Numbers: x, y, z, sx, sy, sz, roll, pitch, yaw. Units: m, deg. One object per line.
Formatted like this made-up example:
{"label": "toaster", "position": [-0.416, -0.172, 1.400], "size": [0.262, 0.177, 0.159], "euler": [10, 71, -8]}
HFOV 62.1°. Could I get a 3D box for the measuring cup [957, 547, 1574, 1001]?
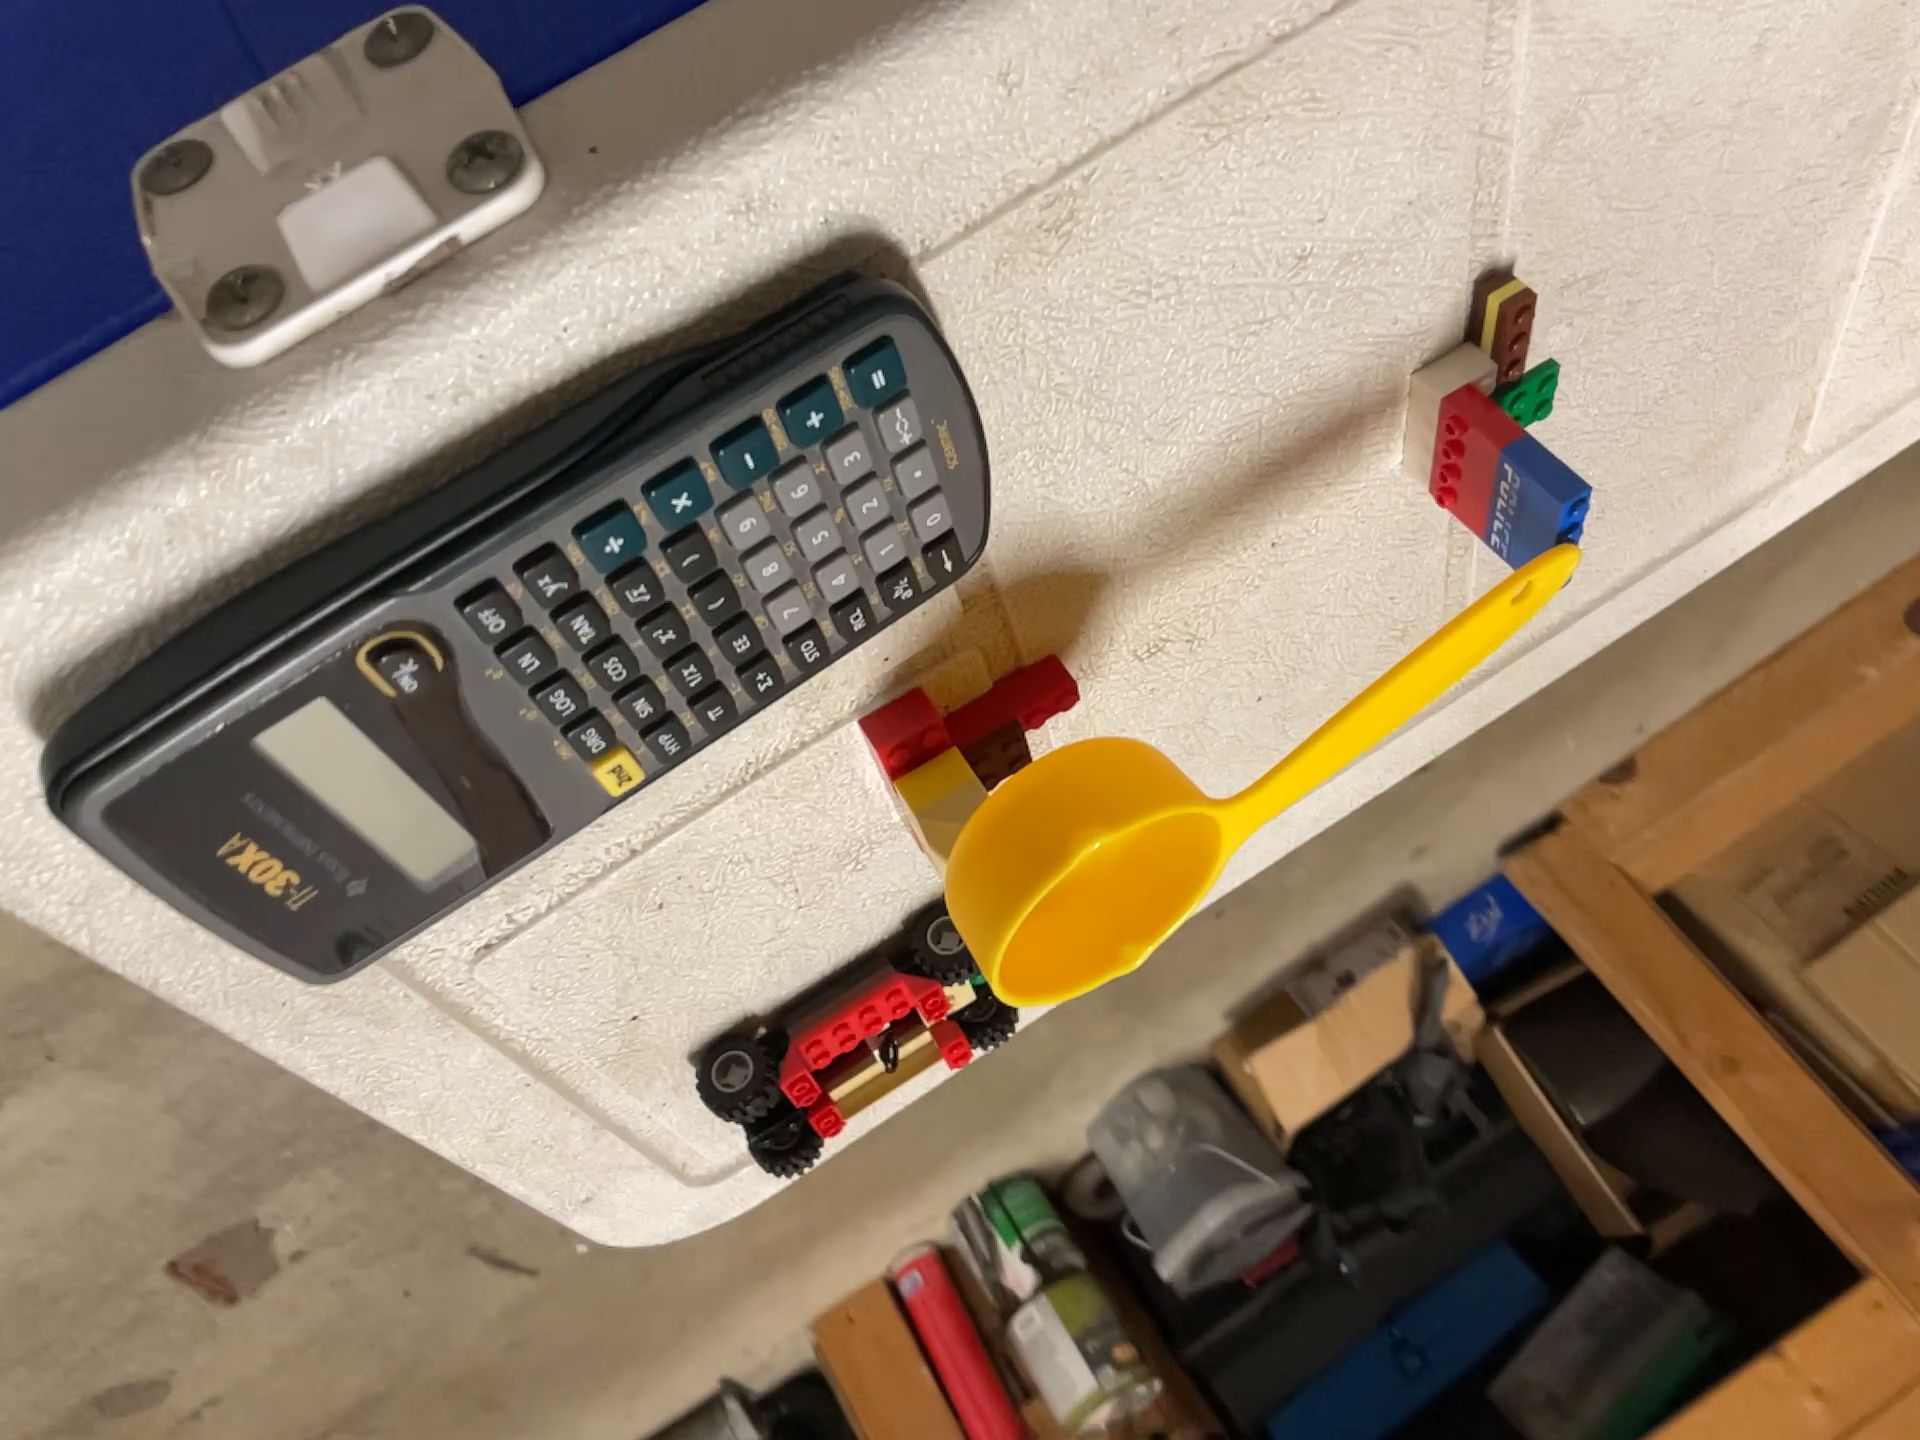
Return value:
{"label": "measuring cup", "position": [0.065, 0.002, 0.346], "size": [0.156, 0.029, 0.062], "euler": [-36, 148, -8]}
